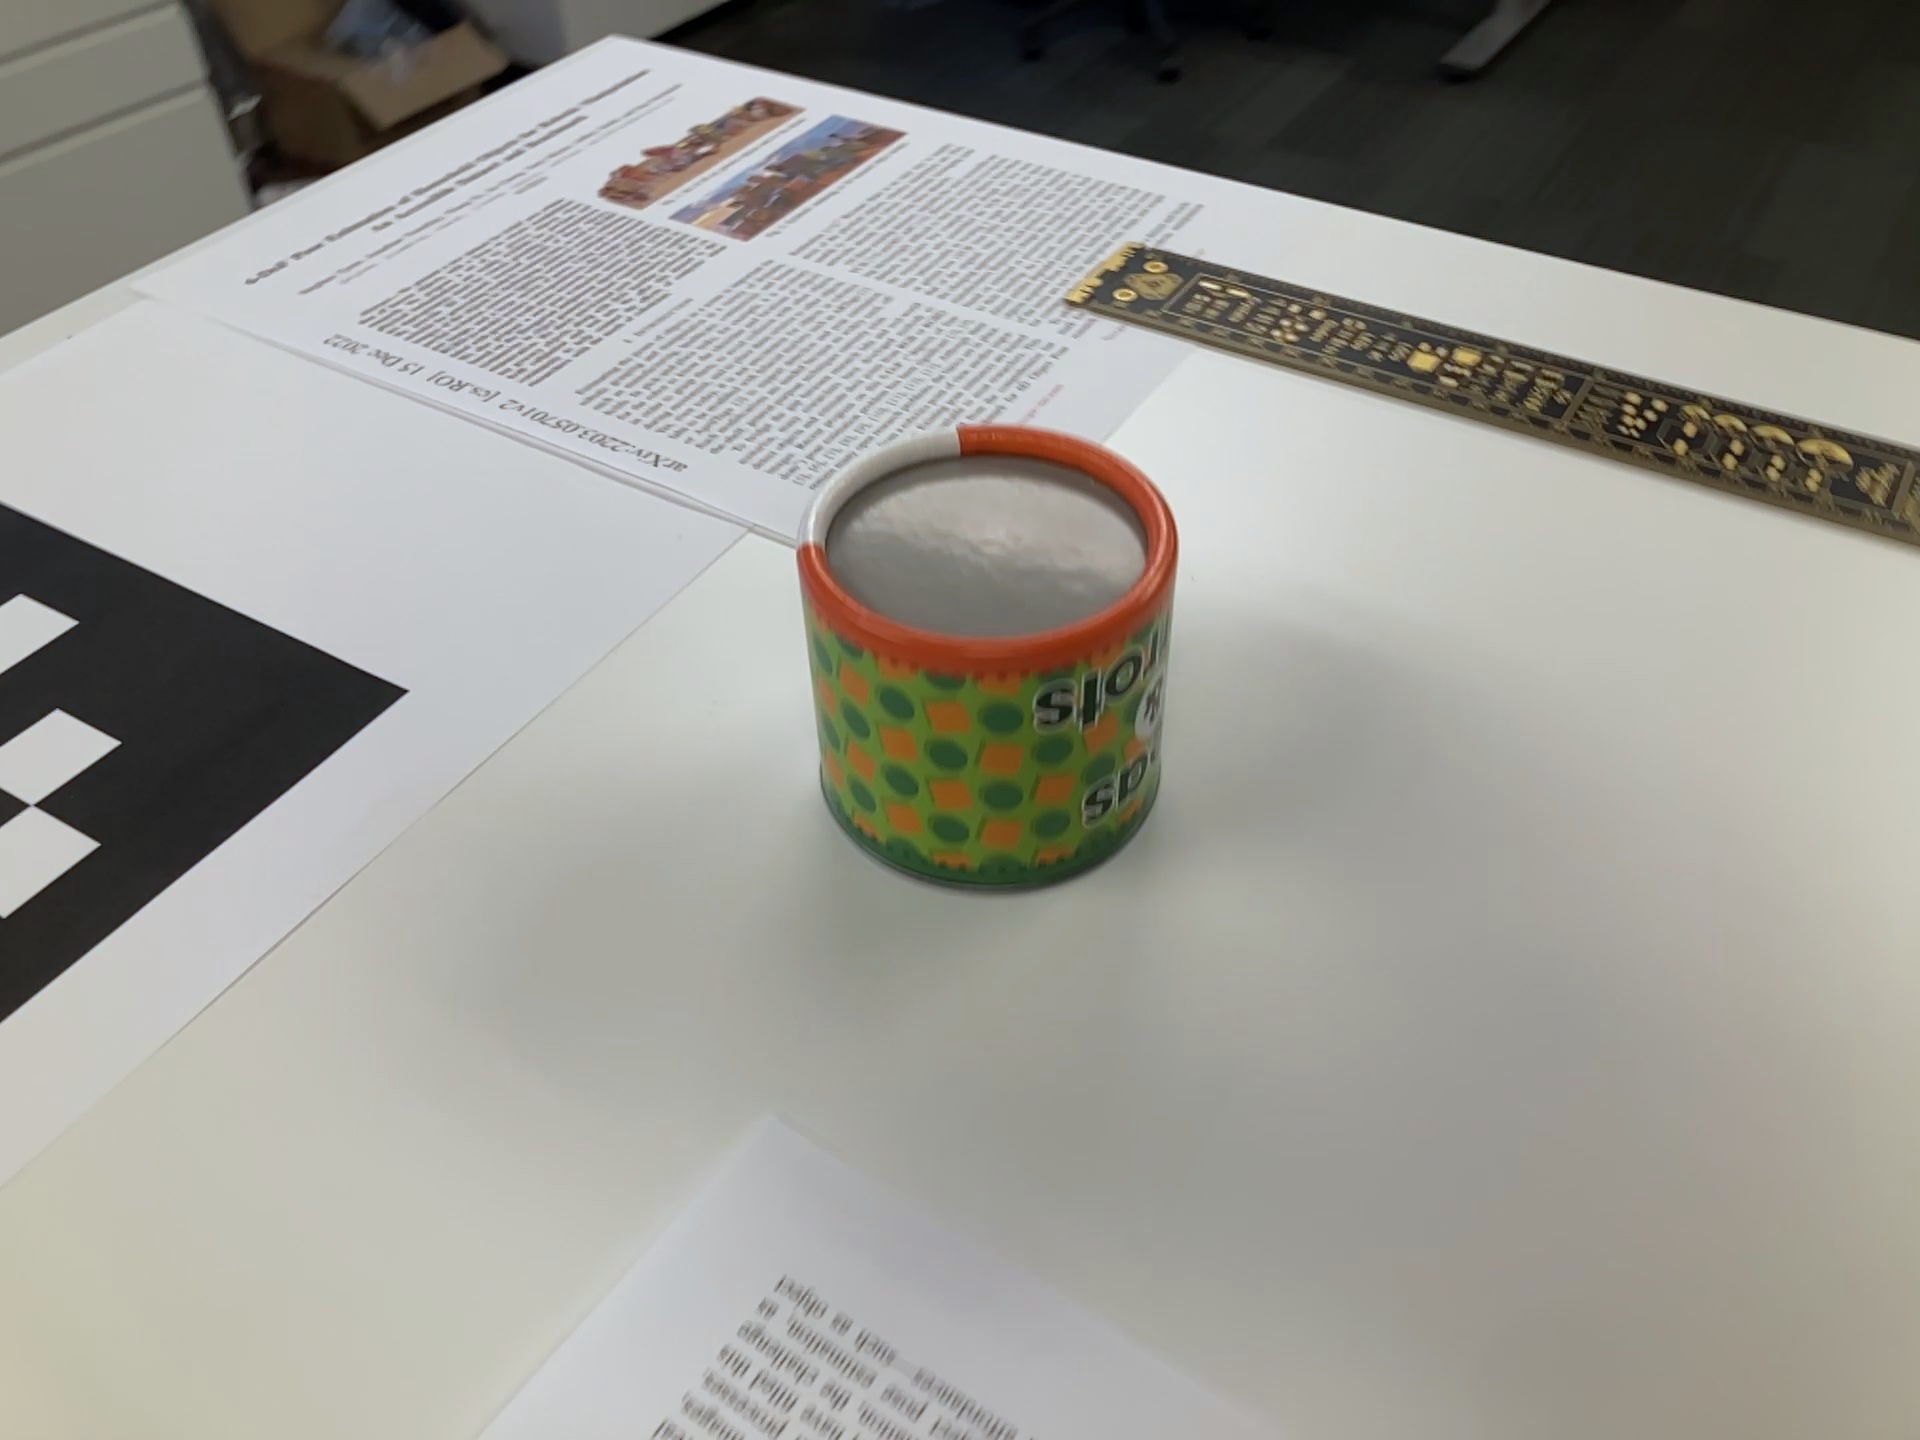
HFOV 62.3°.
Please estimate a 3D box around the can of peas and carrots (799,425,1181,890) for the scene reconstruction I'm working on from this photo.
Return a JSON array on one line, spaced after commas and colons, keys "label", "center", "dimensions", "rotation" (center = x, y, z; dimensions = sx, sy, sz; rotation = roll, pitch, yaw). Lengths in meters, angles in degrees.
[{"label": "can of peas and carrots", "center": [0.007, -0.012, 0.292], "dimensions": [0.071, 0.059, 0.071], "rotation": [-1, 44, 1]}]
